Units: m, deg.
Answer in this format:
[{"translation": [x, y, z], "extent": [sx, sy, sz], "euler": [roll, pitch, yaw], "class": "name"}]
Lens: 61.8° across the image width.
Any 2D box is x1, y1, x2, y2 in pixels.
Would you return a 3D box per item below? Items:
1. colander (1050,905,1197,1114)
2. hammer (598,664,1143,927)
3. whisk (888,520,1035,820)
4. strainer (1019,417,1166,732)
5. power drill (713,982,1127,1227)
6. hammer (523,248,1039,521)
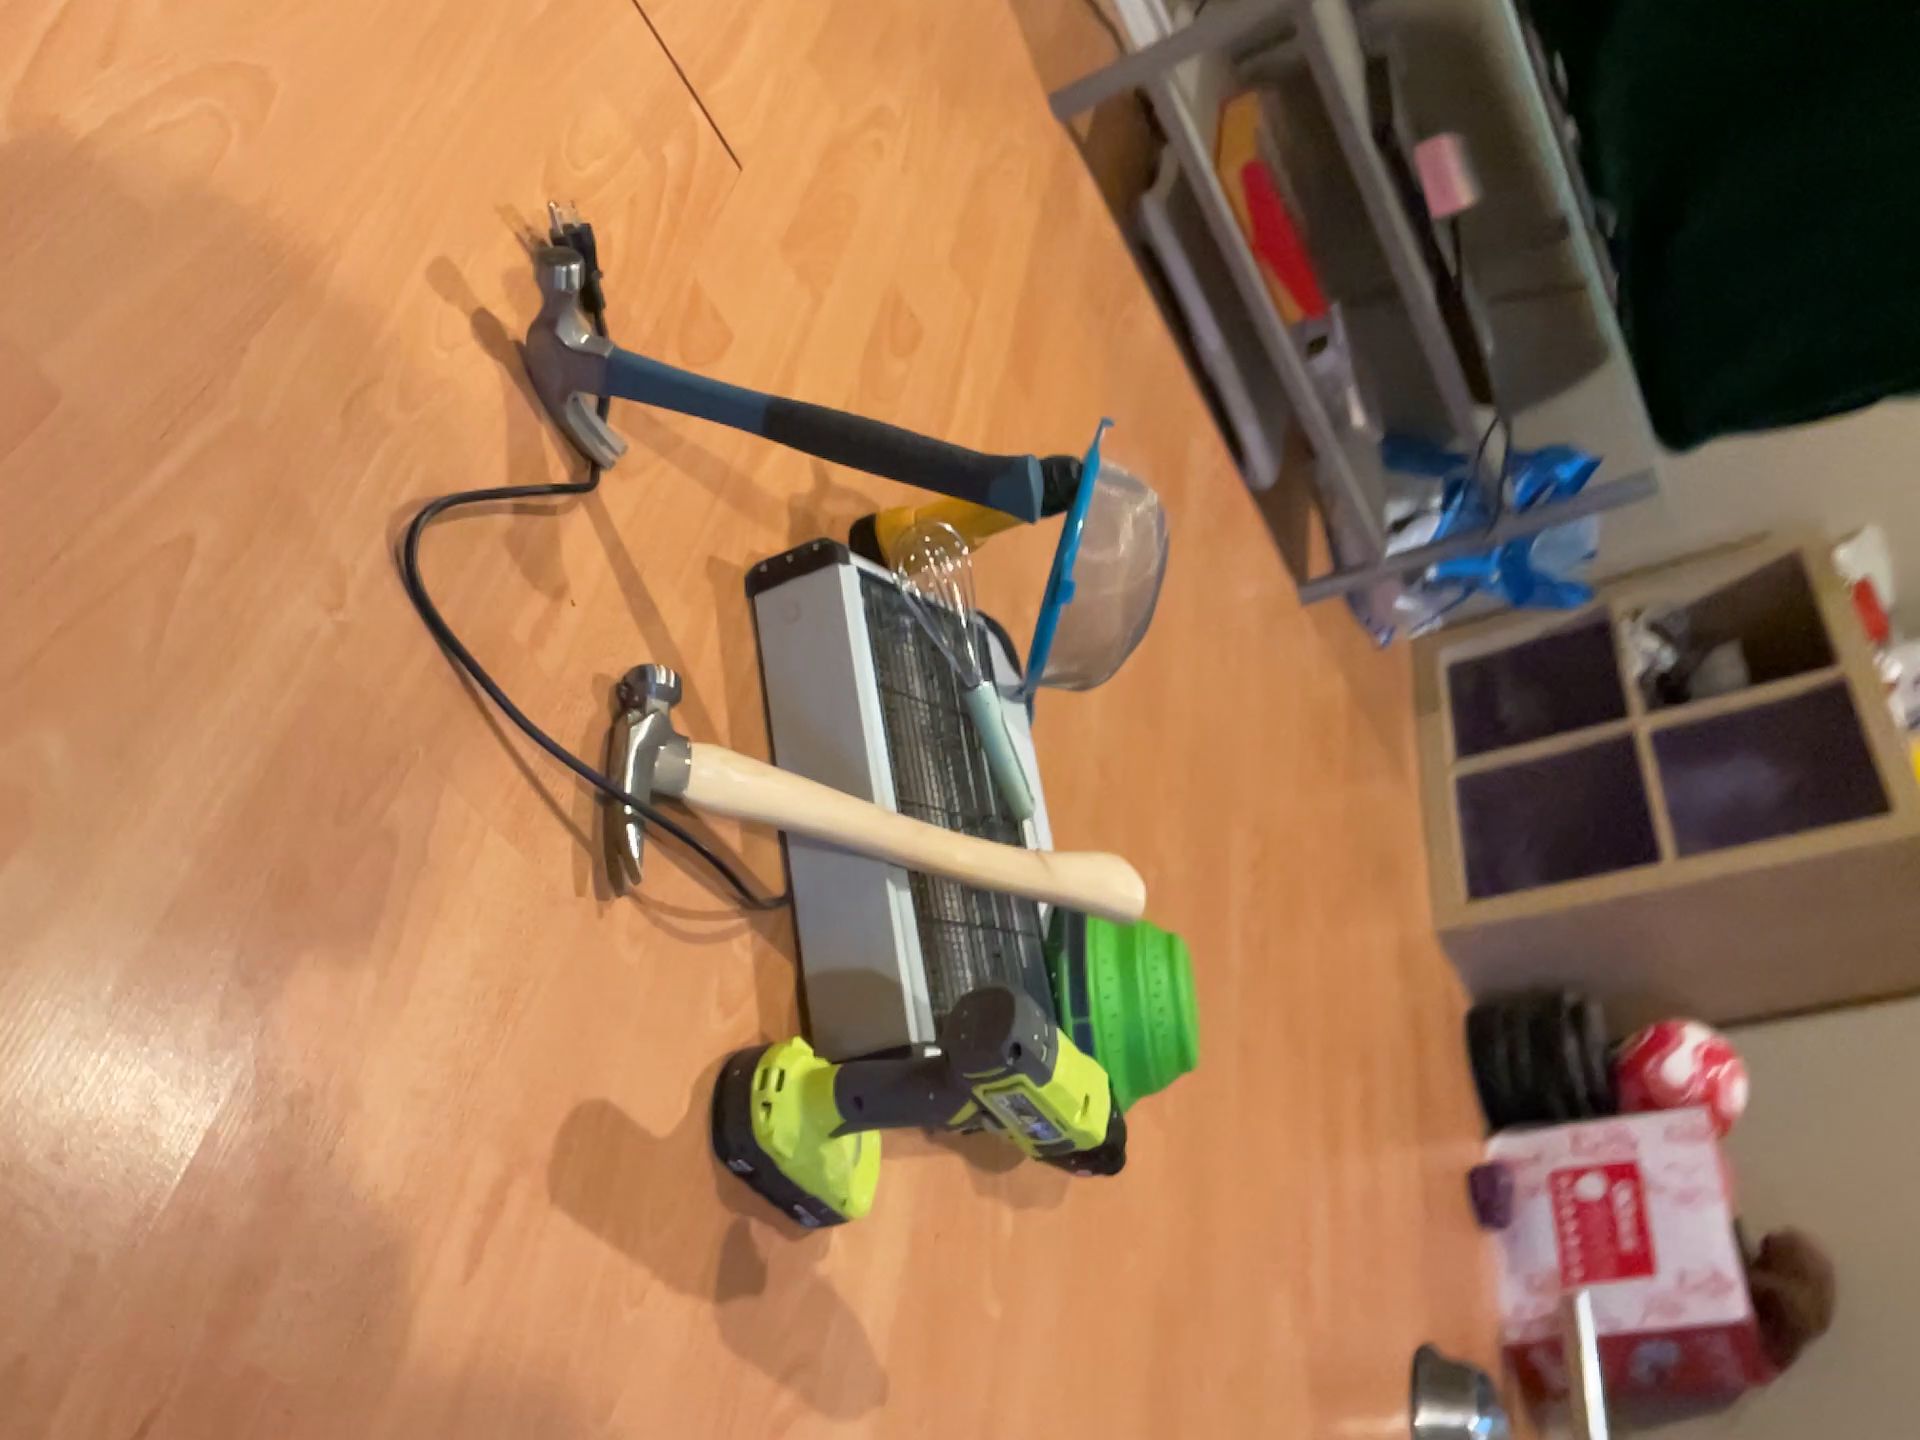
[{"translation": [0.152, 0.235, 1.360], "extent": [0.397, 0.094, 0.204], "euler": [25, 58, -78], "class": "colander"}, {"translation": [-0.042, 0.087, 1.058], "extent": [0.411, 0.038, 0.146], "euler": [19, 54, -31], "class": "hammer"}, {"translation": [0.008, -0.035, 1.214], "extent": [0.058, 0.059, 0.246], "euler": [-125, -167, -74], "class": "whisk"}, {"translation": [0.113, -0.079, 1.375], "extent": [0.340, 0.095, 0.211], "euler": [99, 6, -57], "class": "strainer"}, {"translation": [-0.020, 0.240, 0.969], "extent": [0.171, 0.223, 0.080], "euler": [52, 33, -37], "class": "power drill"}, {"translation": [-0.109, -0.187, 0.990], "extent": [0.033, 0.331, 0.128], "euler": [-71, 176, -51], "class": "hammer"}]
